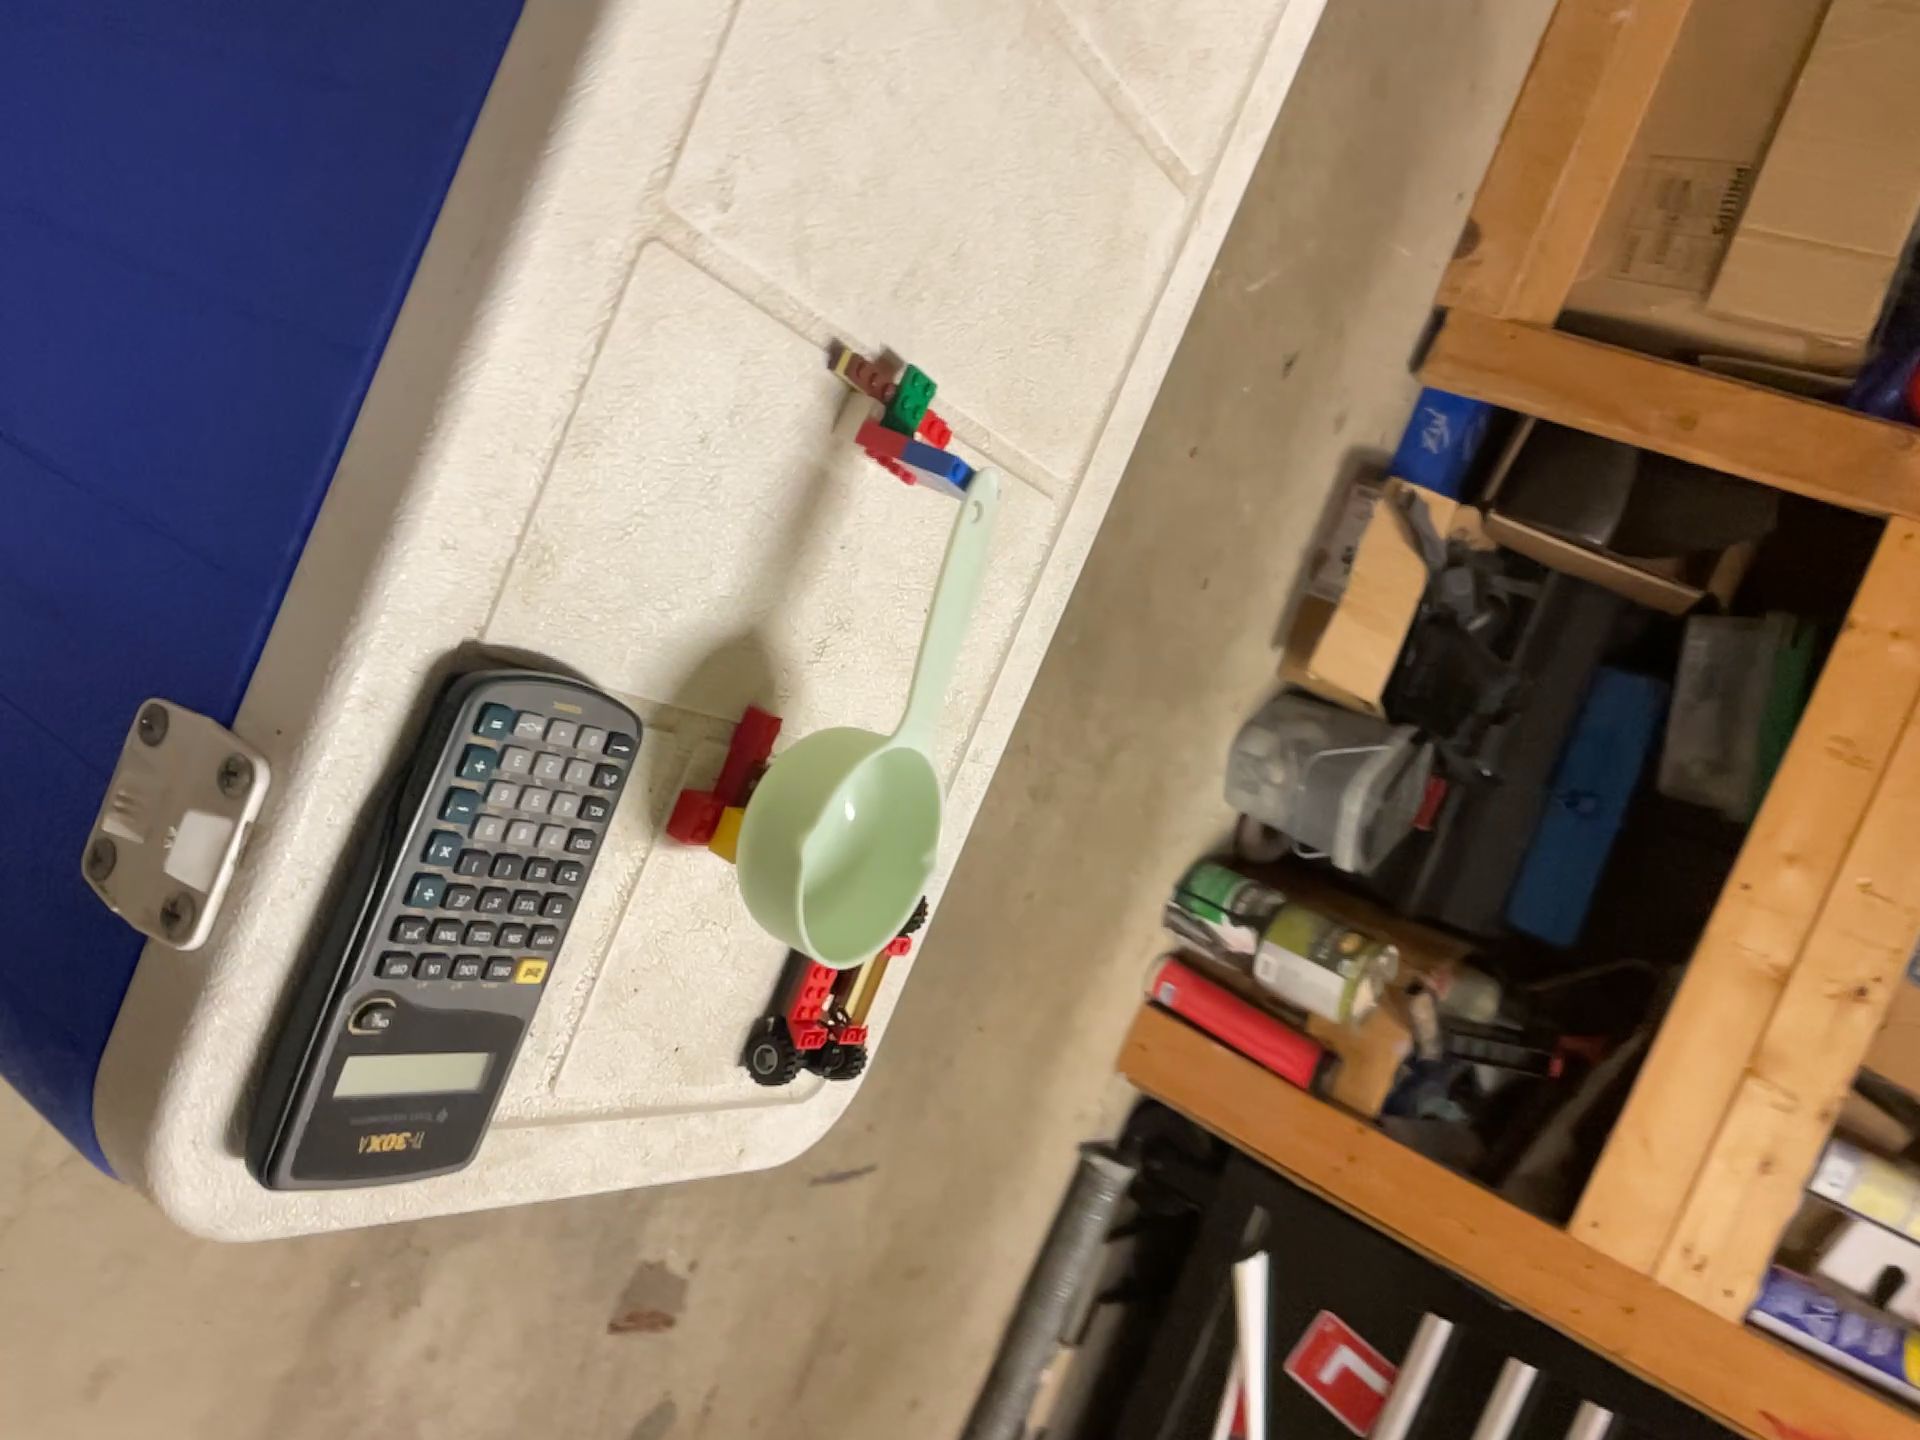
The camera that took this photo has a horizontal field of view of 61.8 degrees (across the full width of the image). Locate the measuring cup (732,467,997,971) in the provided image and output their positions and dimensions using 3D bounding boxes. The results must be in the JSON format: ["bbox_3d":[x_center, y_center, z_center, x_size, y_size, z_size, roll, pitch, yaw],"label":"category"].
[{"bbox_3d":[-0.027,-0.004,0.520,0.083,0.038,0.167,15,92,-58],"label":"measuring cup"}]
